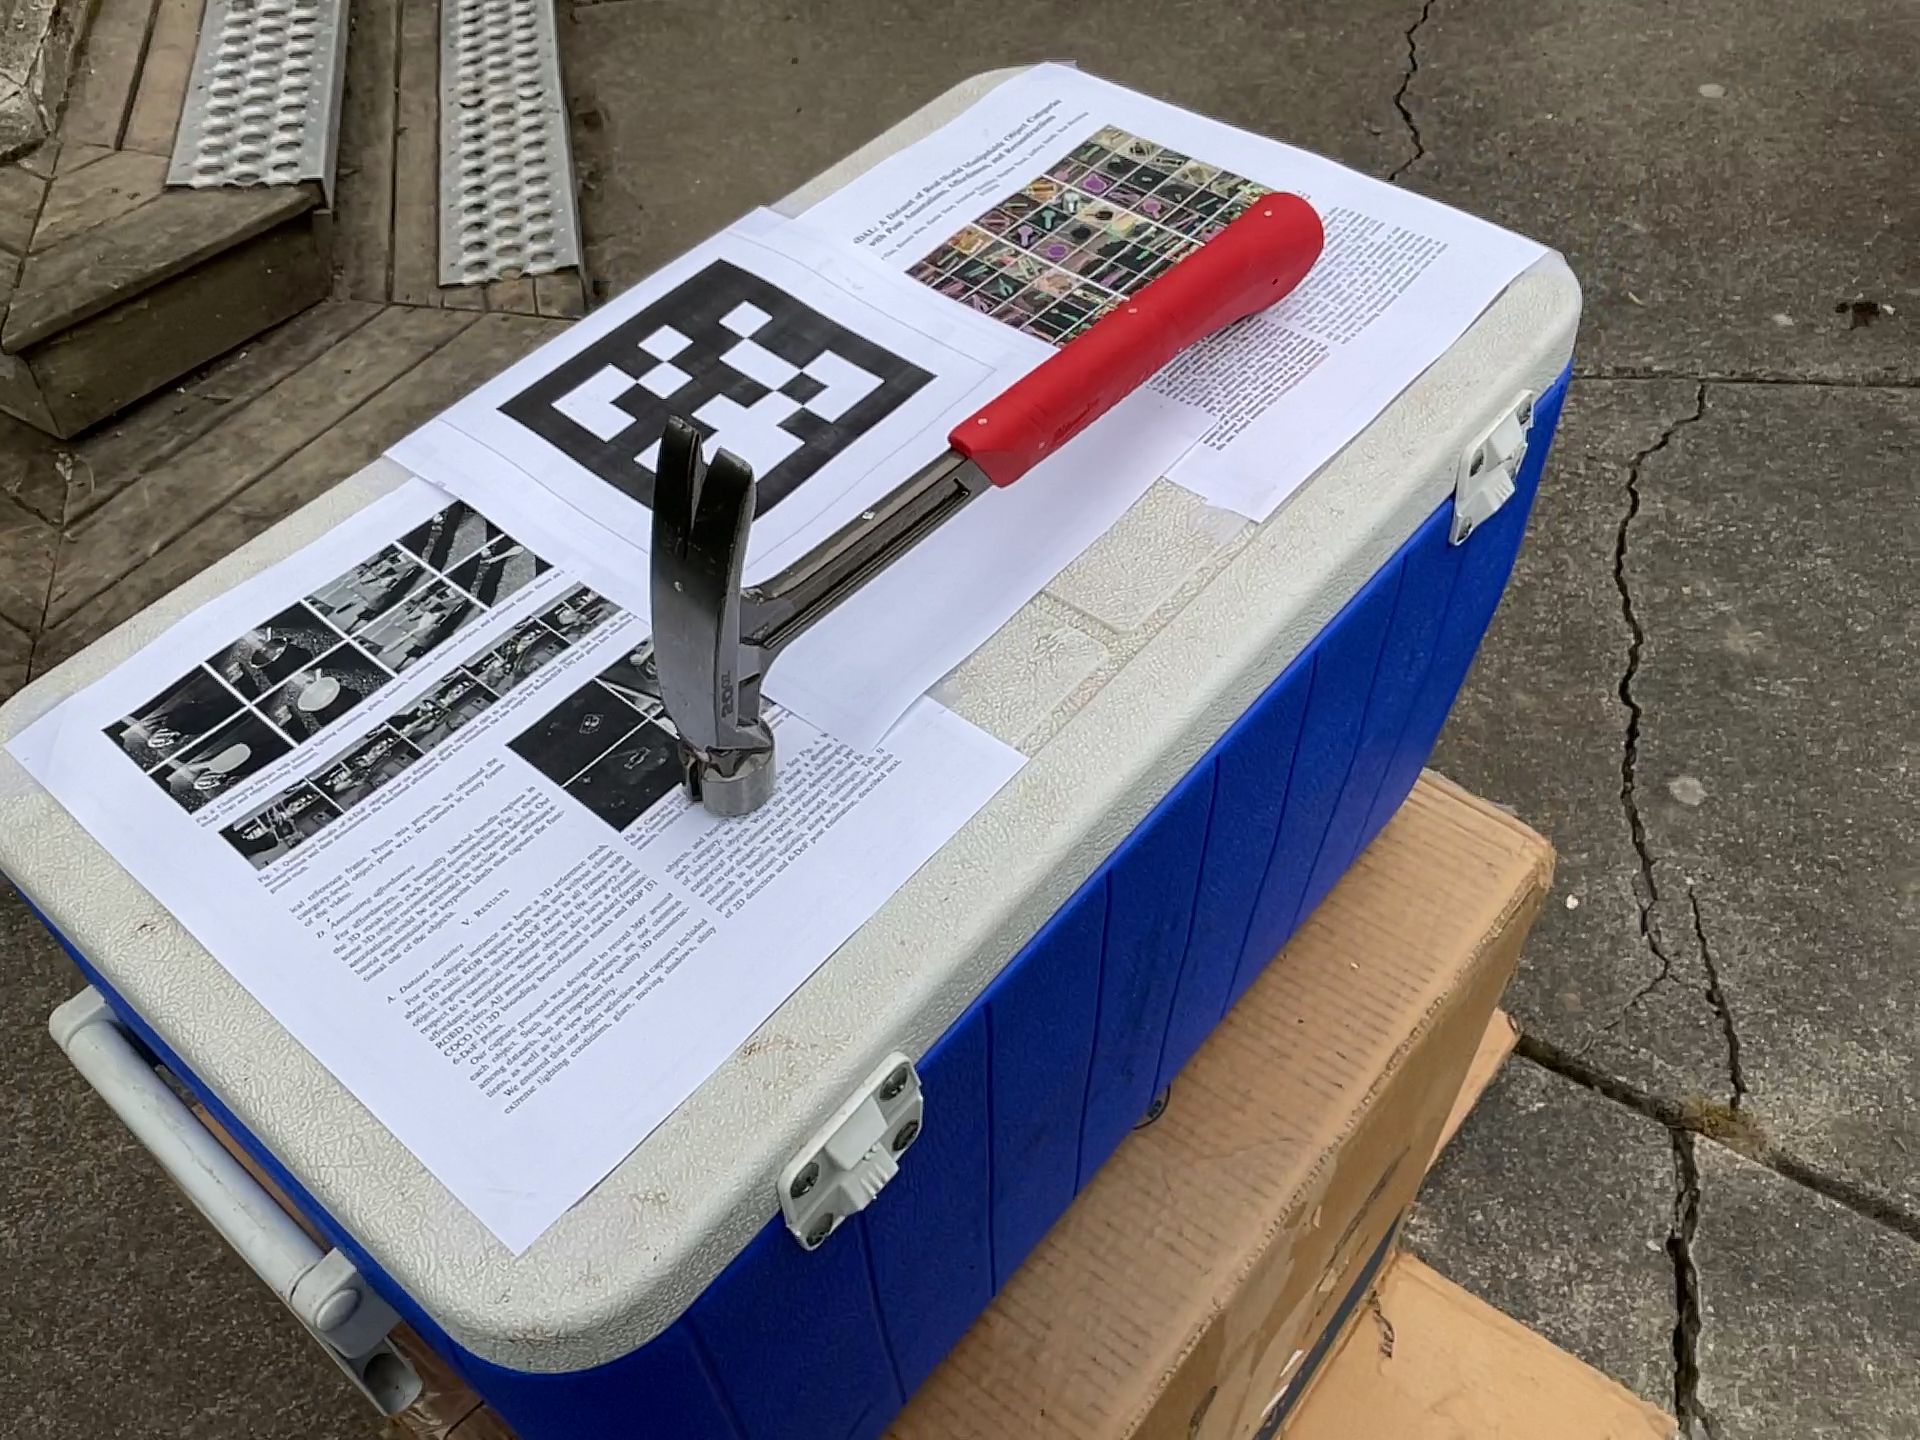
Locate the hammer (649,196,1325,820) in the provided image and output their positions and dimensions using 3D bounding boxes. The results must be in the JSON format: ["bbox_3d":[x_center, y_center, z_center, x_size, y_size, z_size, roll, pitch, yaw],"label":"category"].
[{"bbox_3d":[0.029,-0.115,0.566,0.037,0.149,0.359,33,53,20],"label":"hammer"}]
